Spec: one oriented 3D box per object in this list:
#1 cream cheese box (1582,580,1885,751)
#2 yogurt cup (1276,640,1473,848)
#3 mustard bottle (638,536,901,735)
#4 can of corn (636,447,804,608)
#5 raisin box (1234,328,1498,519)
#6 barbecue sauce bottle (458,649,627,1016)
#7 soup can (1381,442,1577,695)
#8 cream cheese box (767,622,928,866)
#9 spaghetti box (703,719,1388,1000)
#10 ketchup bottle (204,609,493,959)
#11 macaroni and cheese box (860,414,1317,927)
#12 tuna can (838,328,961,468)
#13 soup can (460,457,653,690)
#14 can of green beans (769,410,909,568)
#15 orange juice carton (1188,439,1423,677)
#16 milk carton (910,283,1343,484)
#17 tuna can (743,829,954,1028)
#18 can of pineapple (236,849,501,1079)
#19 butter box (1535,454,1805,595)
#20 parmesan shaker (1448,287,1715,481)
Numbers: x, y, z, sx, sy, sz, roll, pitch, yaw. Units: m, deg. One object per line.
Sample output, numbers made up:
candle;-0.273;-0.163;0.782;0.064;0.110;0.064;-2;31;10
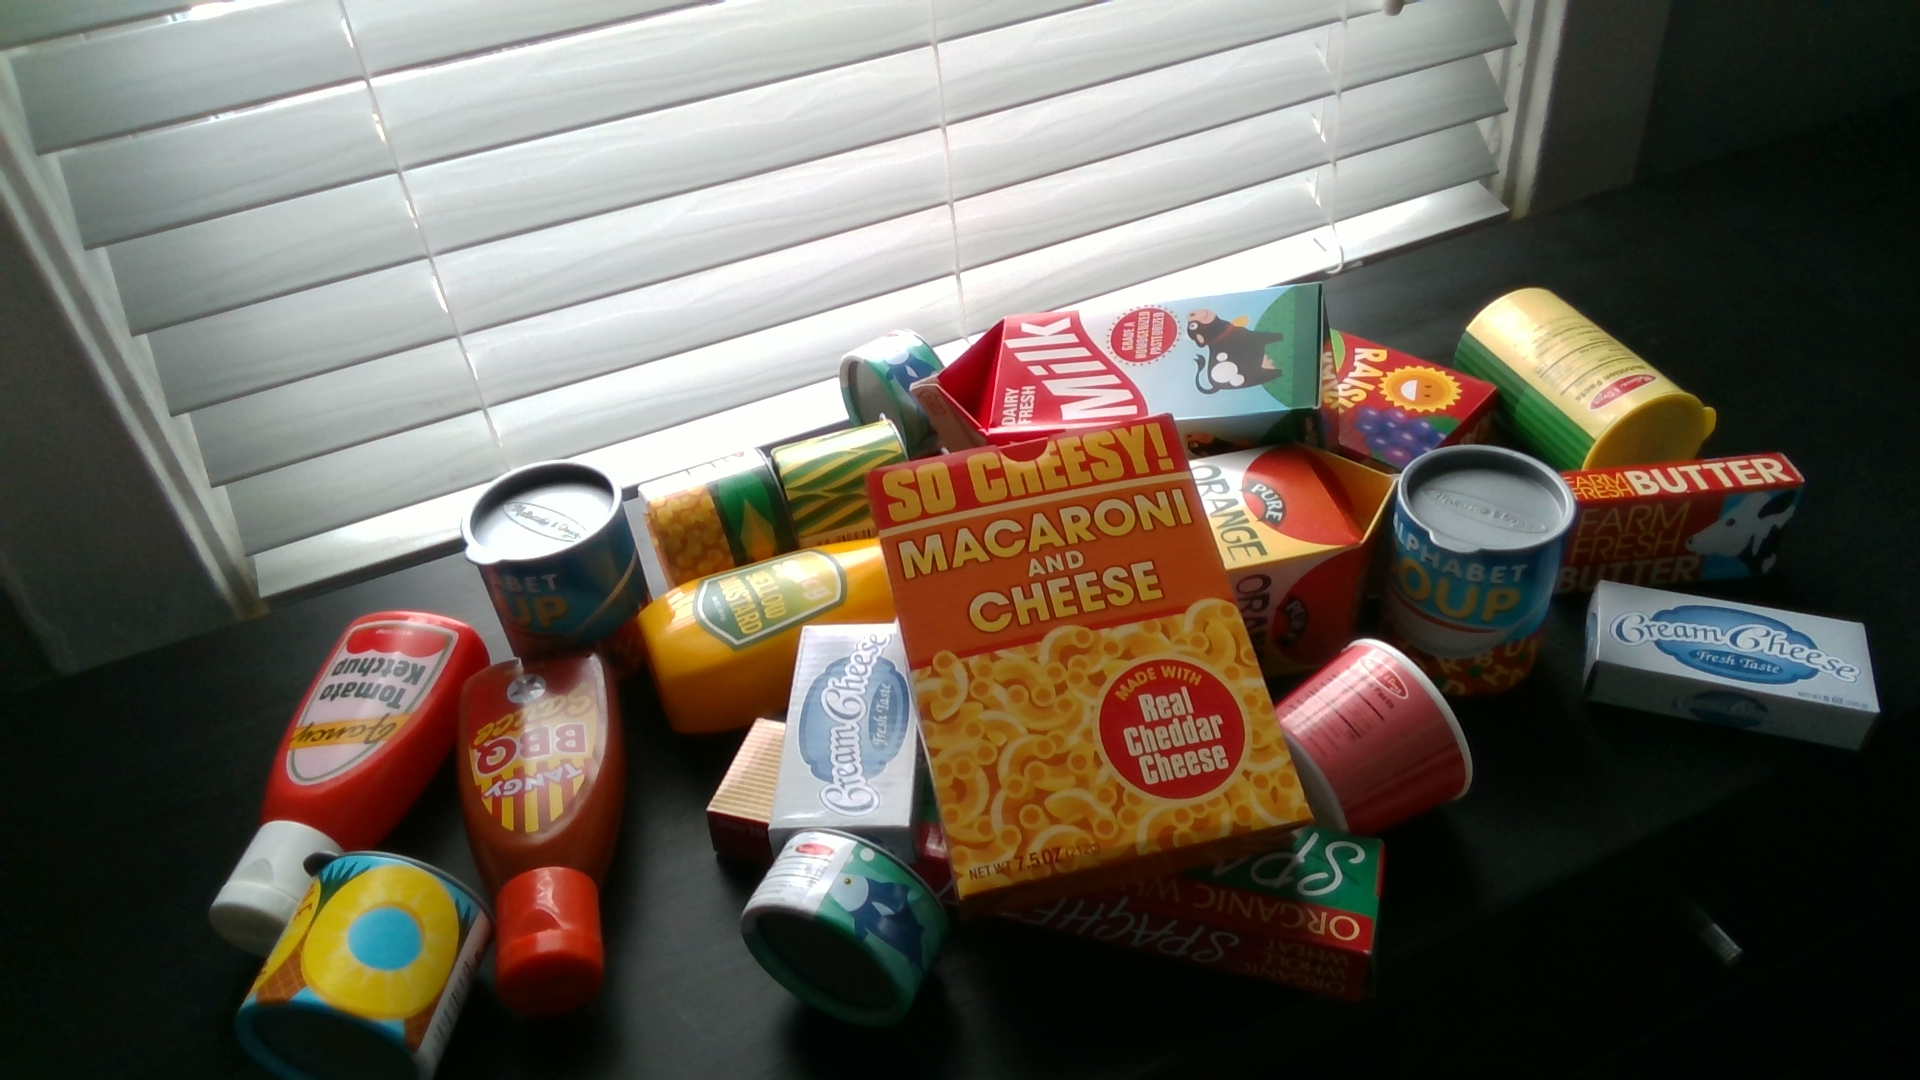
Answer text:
cream cheese box;0.310;0.049;0.564;0.104;0.024;0.054;10;41;15
yogurt cup;0.148;0.079;0.518;0.054;0.072;0.072;-28;45;-12
mustard bottle;-0.056;0.031;0.604;0.161;0.048;0.065;-21;44;-18
can of corn;-0.108;0.000;0.634;0.058;0.070;0.071;-20;43;-16
raisin box;0.189;-0.062;0.692;0.123;0.039;0.086;29;51;33
barbecue sauce bottle;-0.158;0.107;0.530;0.065;0.043;0.149;-13;41;-8
soup can;0.208;0.014;0.568;0.071;0.083;0.072;-4;40;3
cream cheese box;-0.039;0.075;0.526;0.053;0.024;0.104;-3;41;5
spaghetti box;0.029;0.114;0.512;0.250;0.028;0.050;9;41;16
ketchup bottle;-0.244;0.093;0.554;0.065;0.043;0.149;2;42;10
macaroni and cheese box;0.040;0.040;0.501;0.124;0.040;0.167;-11;62;-7
tuna can;-0.030;-0.068;0.702;0.033;0.070;0.071;-28;46;-24
soup can;-0.173;0.018;0.602;0.071;0.083;0.072;-3;41;3
can of green beans;-0.053;-0.019;0.647;0.058;0.071;0.071;-14;42;-9
orange juice carton;0.099;0.014;0.584;0.193;0.071;0.073;-10;43;-9
milk carton;0.077;-0.060;0.649;0.190;0.072;0.074;-4;57;21
tuna can;-0.037;0.134;0.472;0.071;0.070;0.033;16;46;22
can of pineapple;-0.200;0.147;0.469;0.071;0.070;0.058;2;41;9
butter box;0.305;-0.006;0.603;0.103;0.052;0.024;-5;38;-1
parmesan shaker;0.295;-0.070;0.668;0.071;0.071;0.103;-16;42;-13
